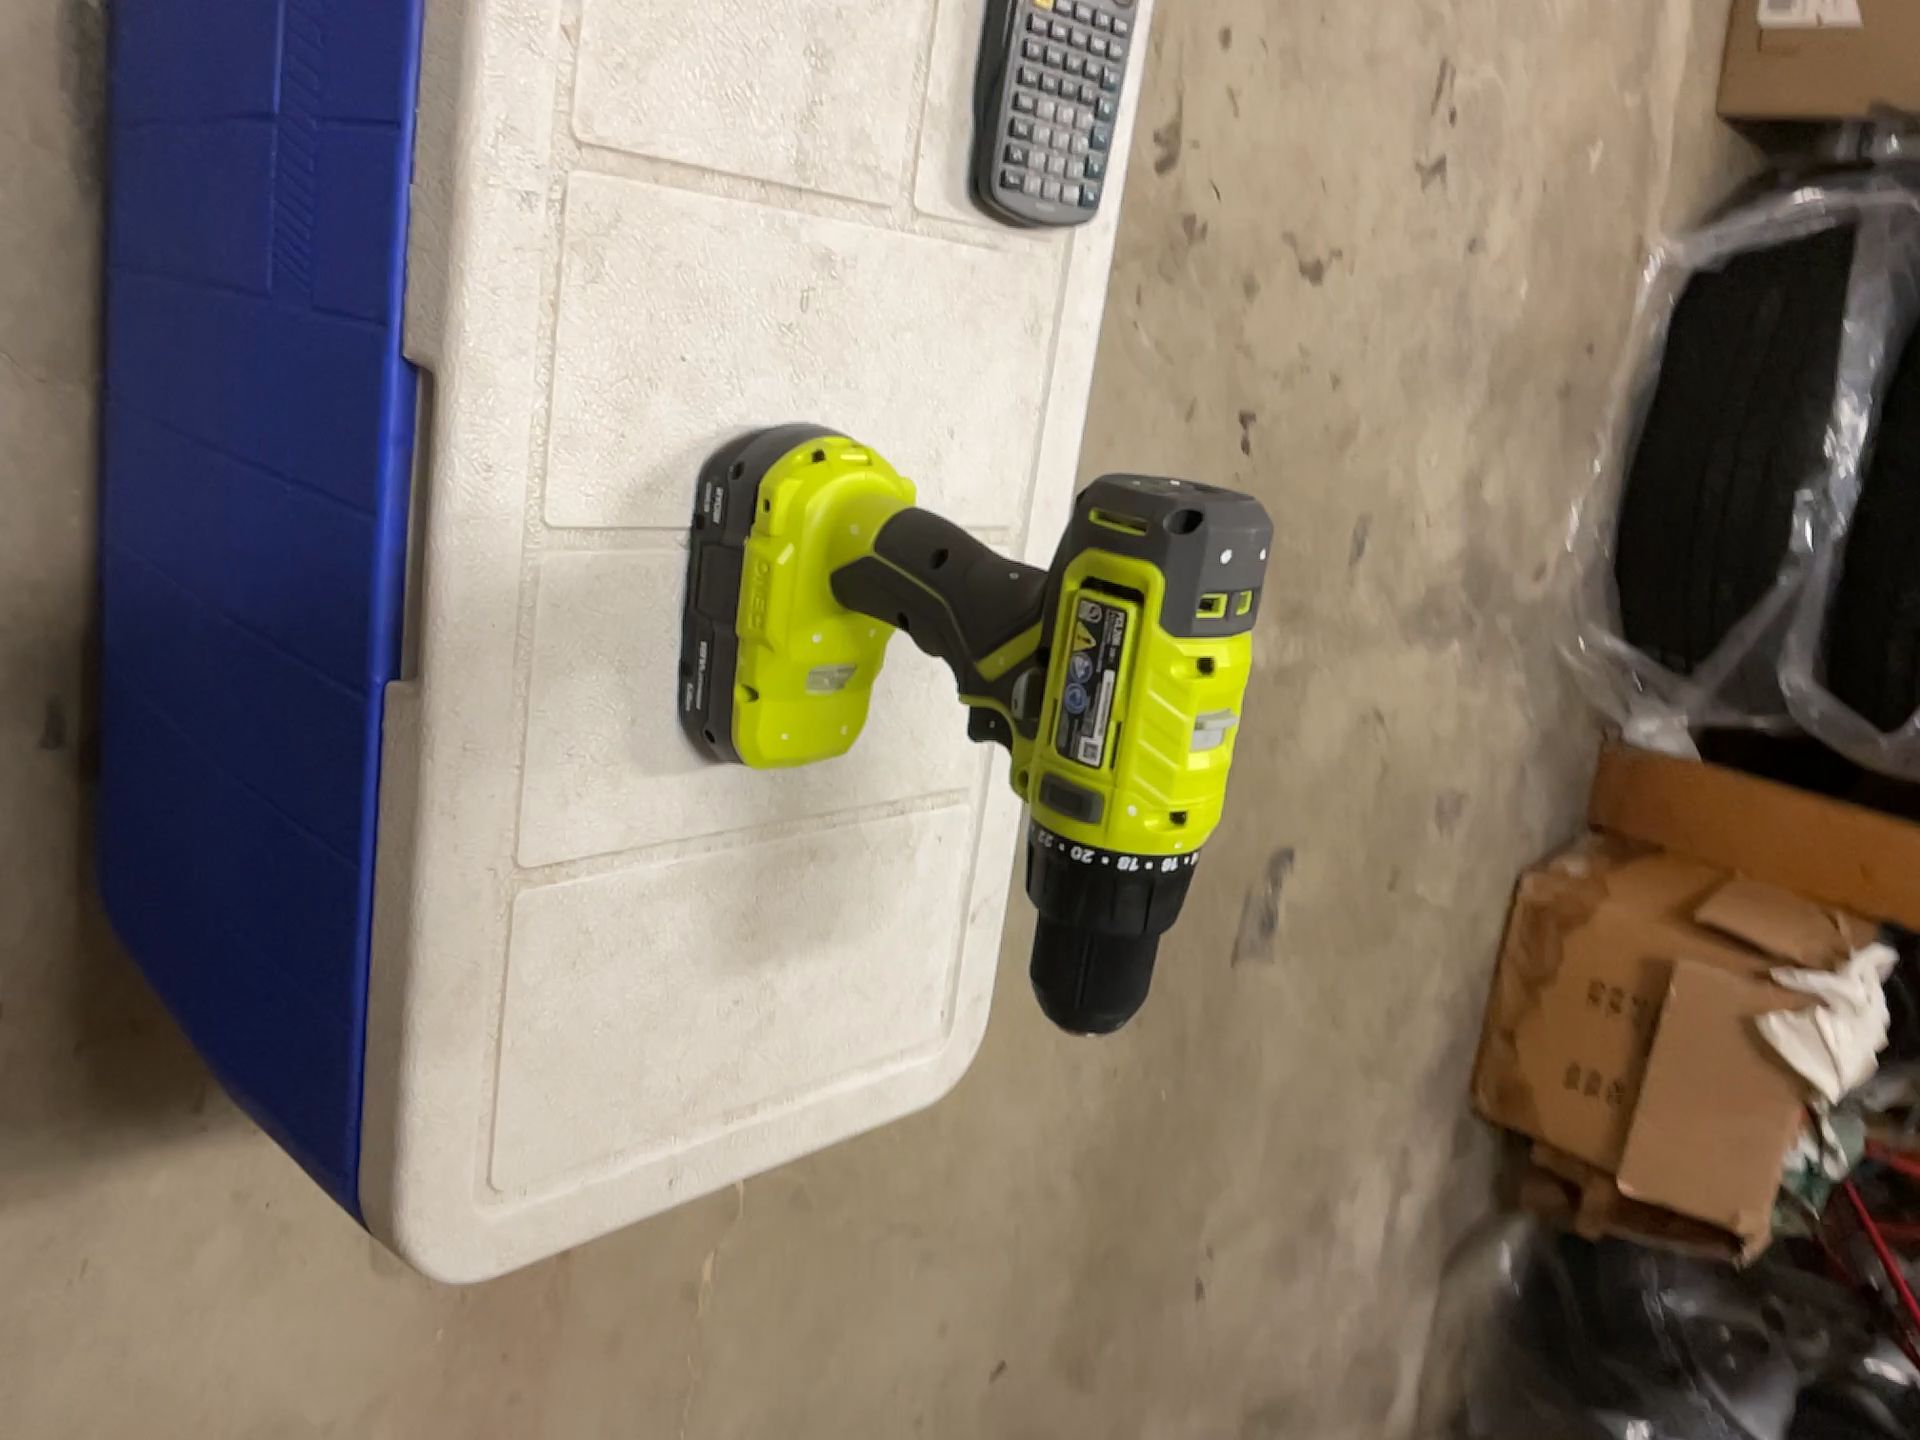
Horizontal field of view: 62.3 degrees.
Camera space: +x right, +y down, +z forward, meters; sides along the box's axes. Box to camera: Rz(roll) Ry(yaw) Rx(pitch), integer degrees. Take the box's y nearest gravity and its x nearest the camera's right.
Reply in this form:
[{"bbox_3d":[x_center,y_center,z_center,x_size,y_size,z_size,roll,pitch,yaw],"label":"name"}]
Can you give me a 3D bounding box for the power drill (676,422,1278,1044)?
[{"bbox_3d":[-0.002,-0.007,0.577,0.080,0.228,0.190,-9,114,-47],"label":"power drill"}]
